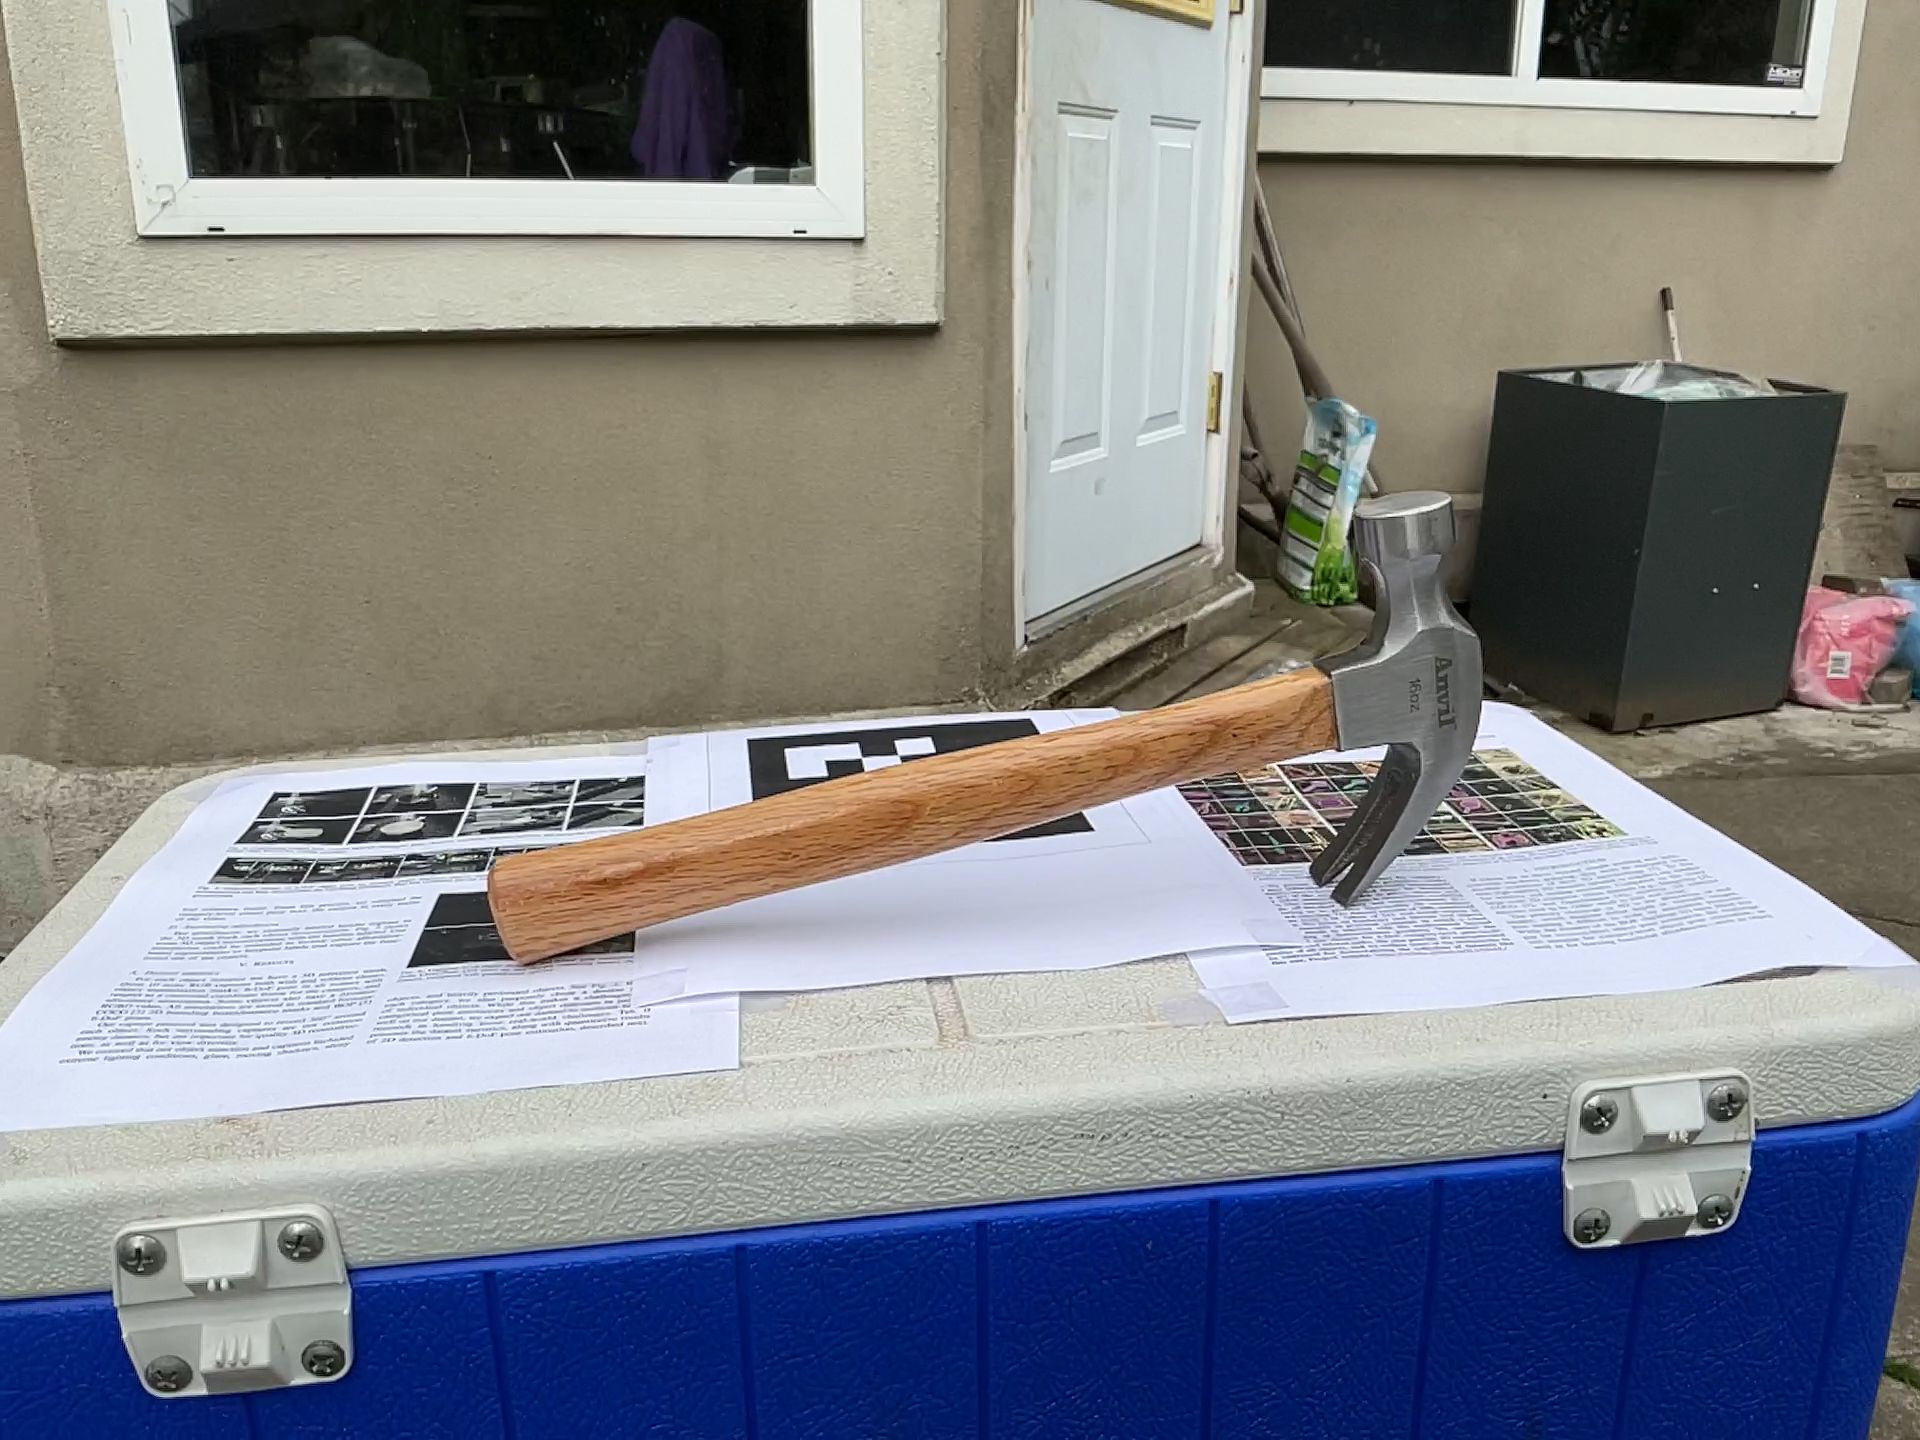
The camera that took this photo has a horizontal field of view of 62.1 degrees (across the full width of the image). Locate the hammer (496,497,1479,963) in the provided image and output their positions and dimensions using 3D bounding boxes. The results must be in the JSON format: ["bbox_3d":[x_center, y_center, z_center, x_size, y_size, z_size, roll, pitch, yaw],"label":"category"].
[{"bbox_3d":[0.014,0.026,0.534,0.331,0.130,0.031,-14,17,-5],"label":"hammer"}]
